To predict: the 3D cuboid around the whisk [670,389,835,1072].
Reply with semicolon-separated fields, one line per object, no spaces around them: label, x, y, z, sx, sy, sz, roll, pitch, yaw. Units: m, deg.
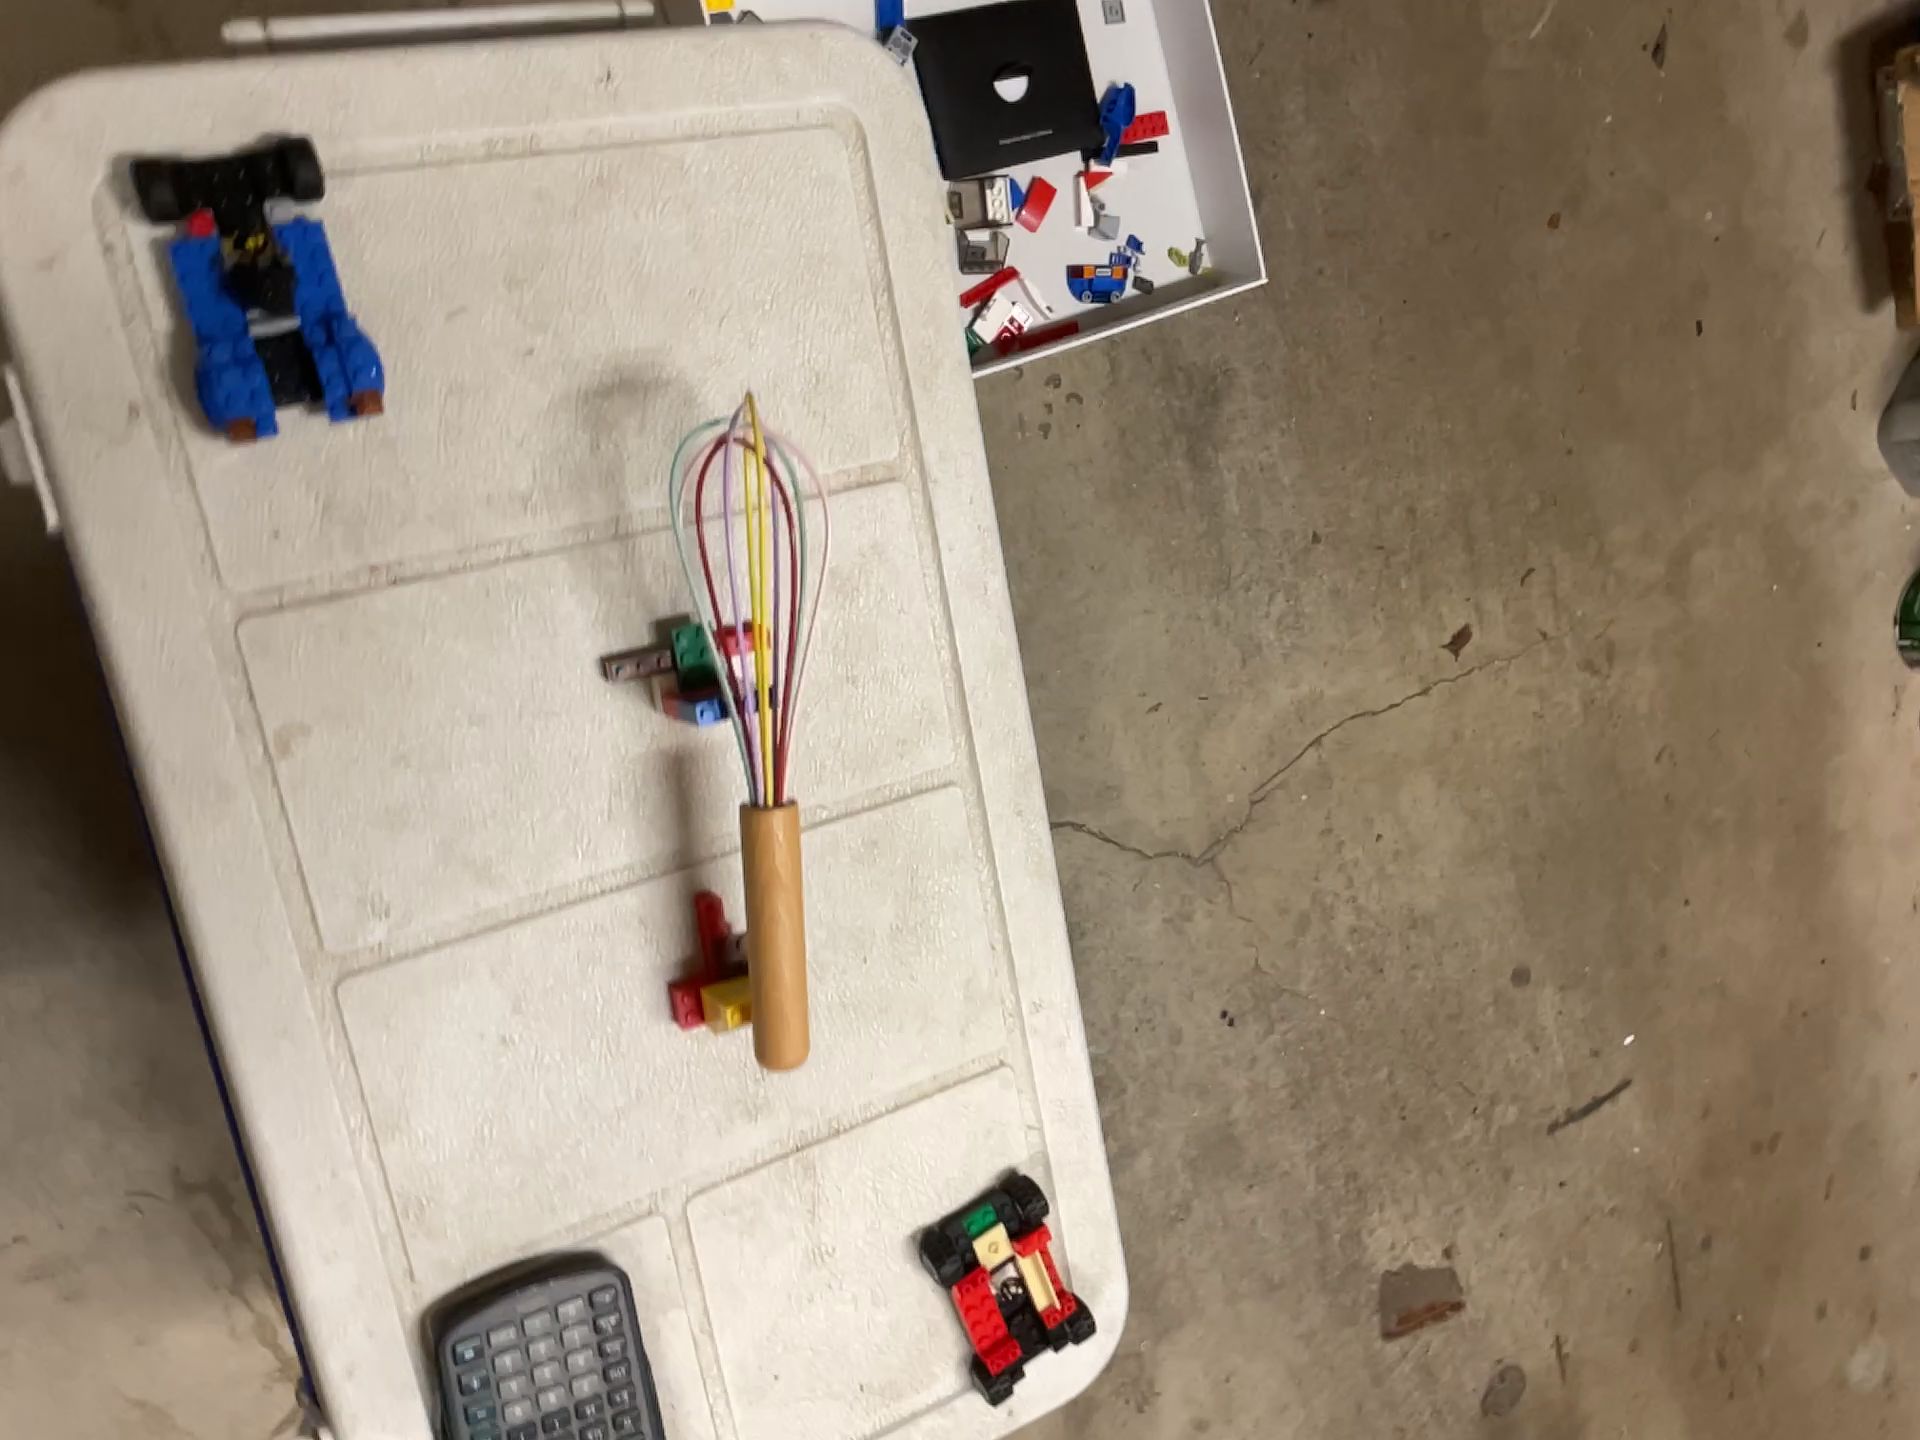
whisk;-0.070;0.008;0.561;0.051;0.047;0.245;-12;105;-40
